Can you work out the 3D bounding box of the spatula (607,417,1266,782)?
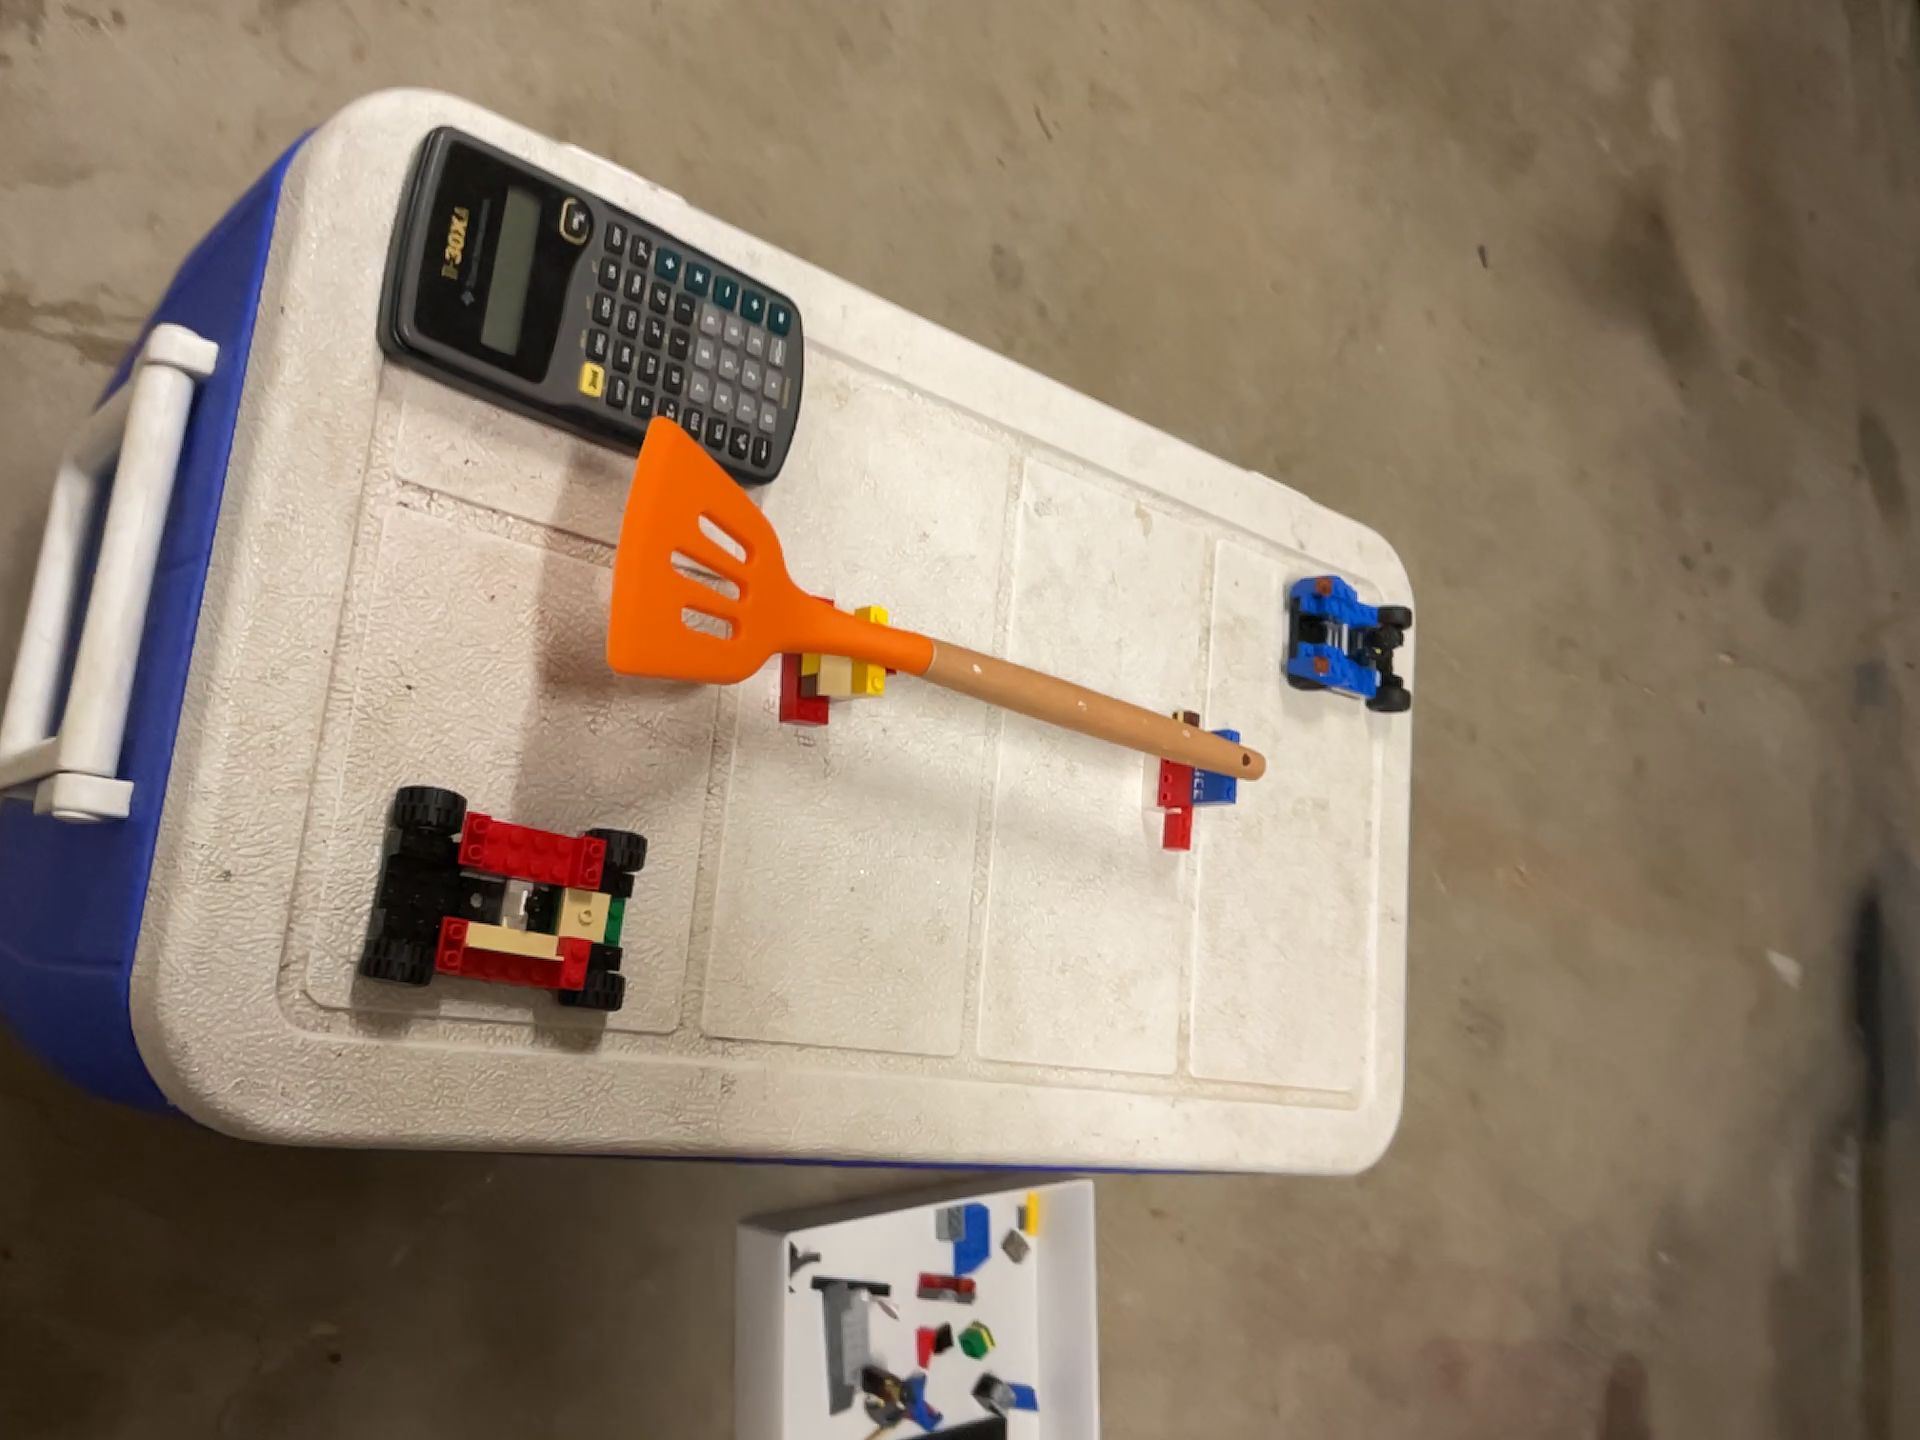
[{"bbox_3d":[0.010,-0.017,0.581,0.322,0.041,0.081,17,76,-38],"label":"spatula"}]
